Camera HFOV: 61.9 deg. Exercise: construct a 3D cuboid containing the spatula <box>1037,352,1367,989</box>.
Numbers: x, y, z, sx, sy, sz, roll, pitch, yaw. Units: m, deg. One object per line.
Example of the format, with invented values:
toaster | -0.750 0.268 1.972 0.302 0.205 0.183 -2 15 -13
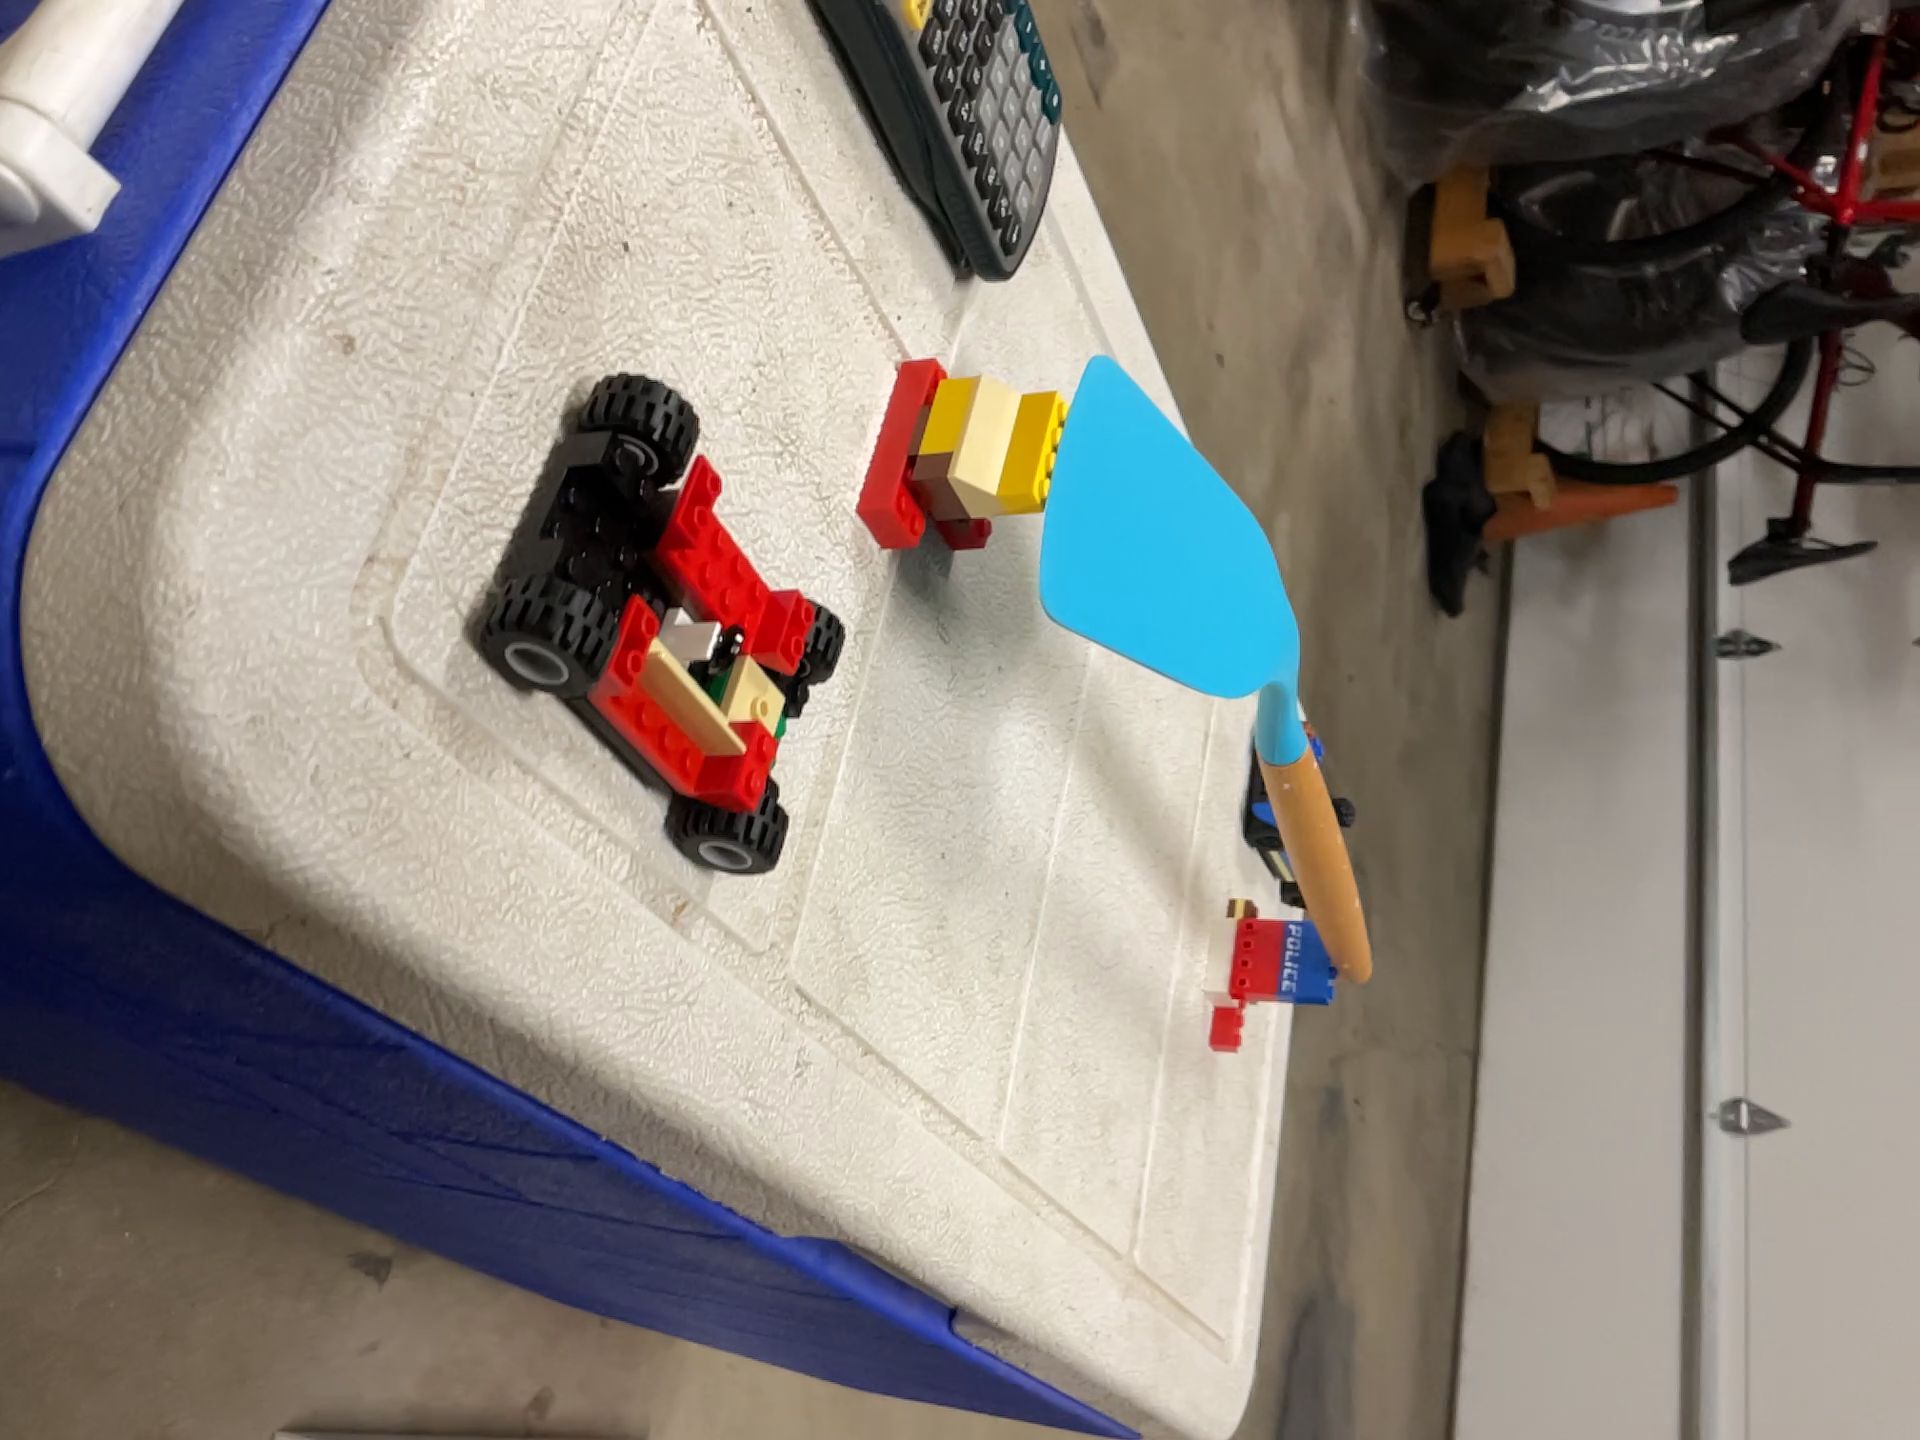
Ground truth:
spatula | 0.093 0.019 0.501 0.317 0.044 0.082 58 38 -53
